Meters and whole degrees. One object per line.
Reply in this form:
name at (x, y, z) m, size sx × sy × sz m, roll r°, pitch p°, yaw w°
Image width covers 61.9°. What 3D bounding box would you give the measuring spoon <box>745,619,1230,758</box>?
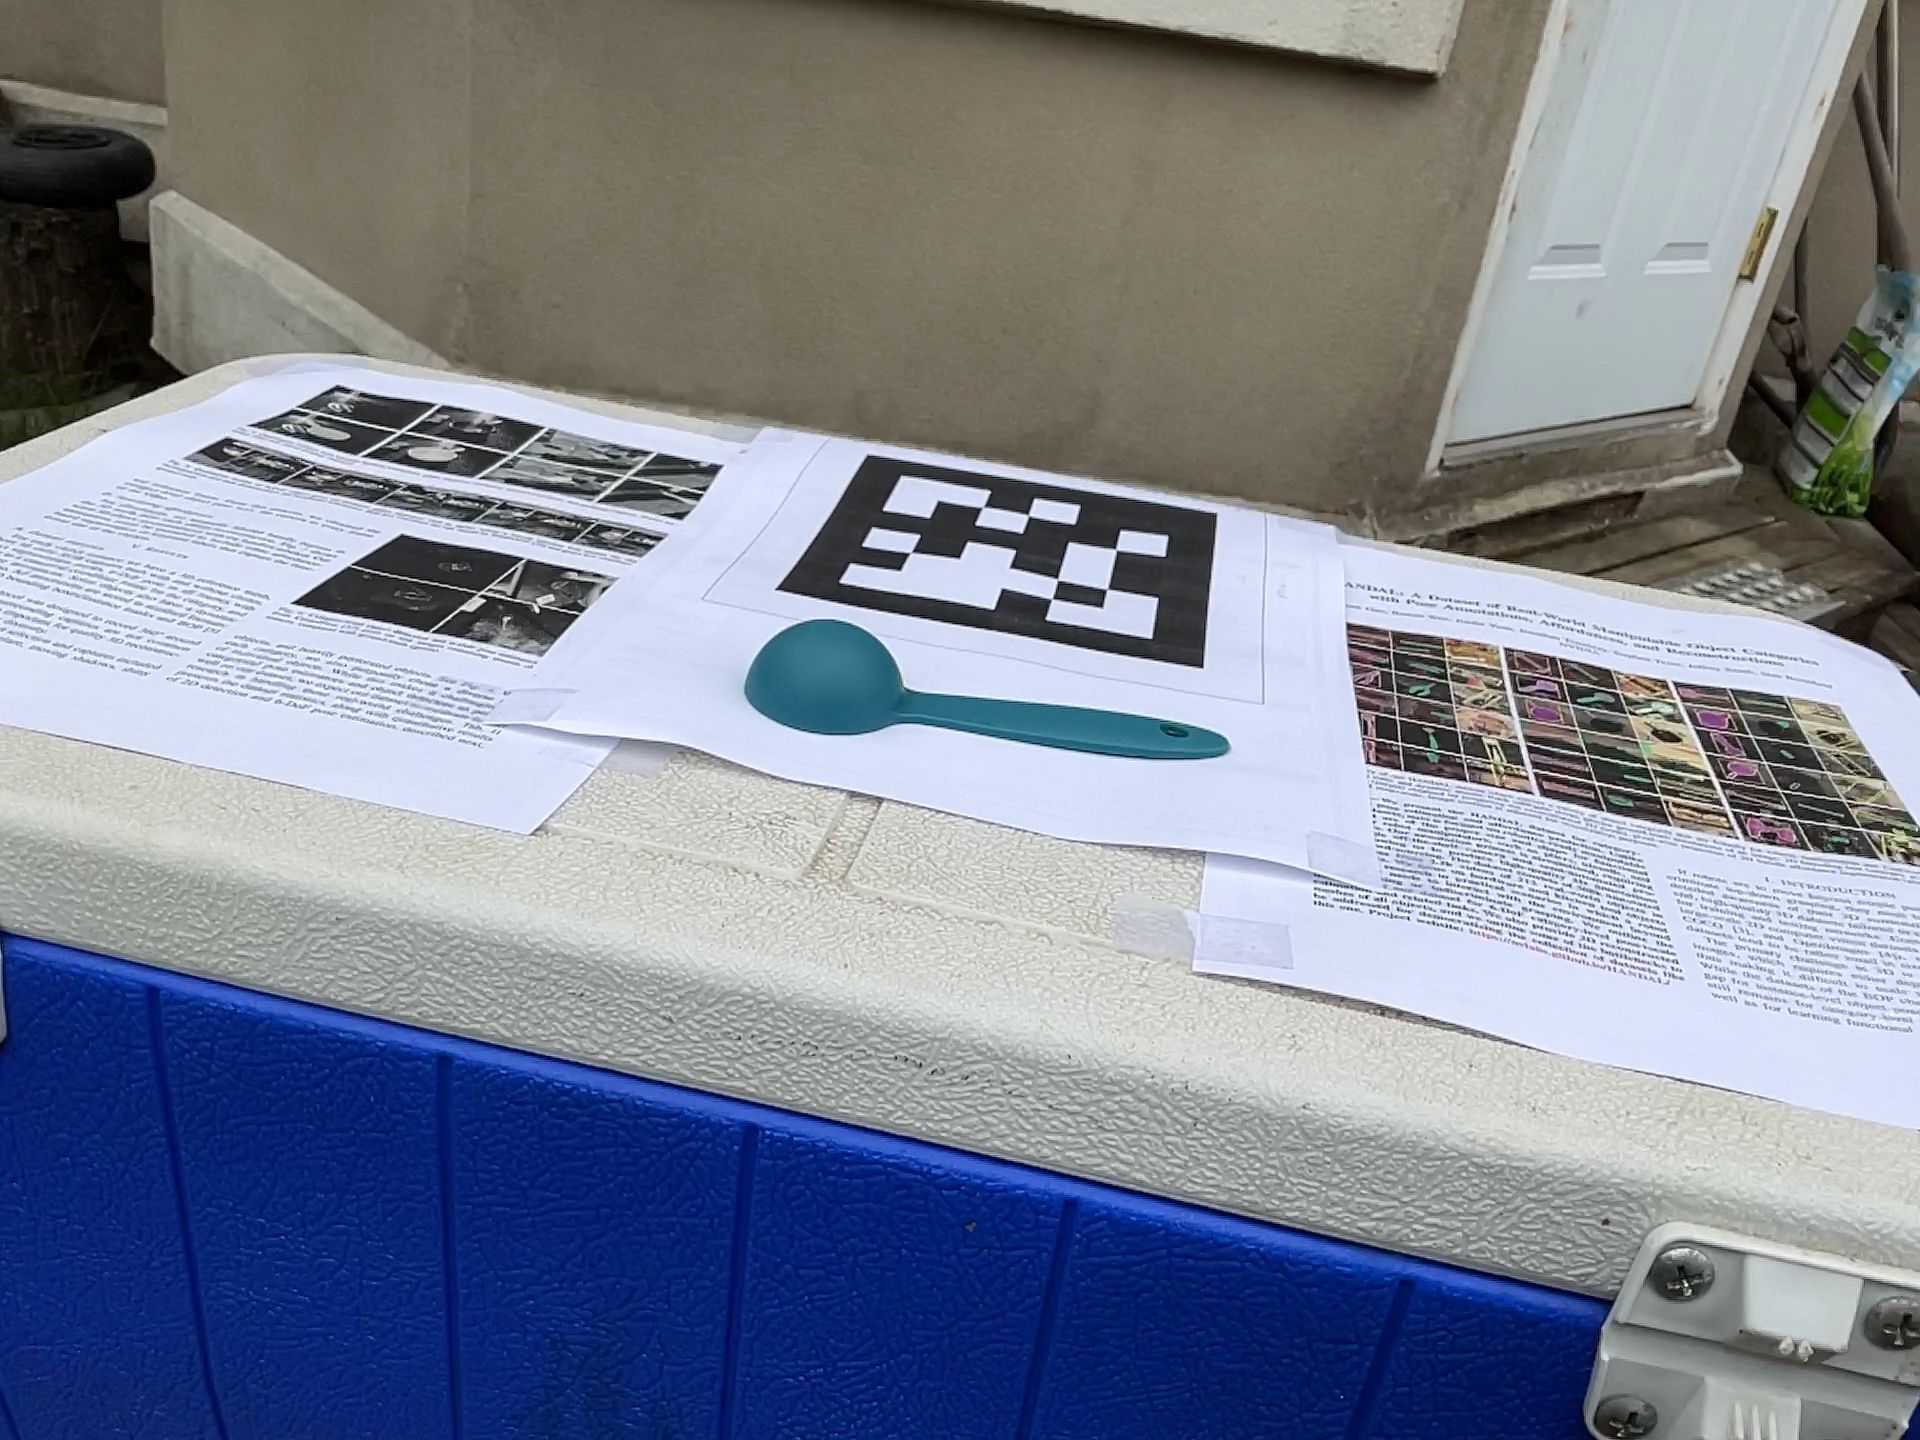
measuring spoon at (0.009, -0.009, 0.419) m, size 0.128 × 0.021 × 0.042 m, roll 8°, pitch 21°, yaw -2°
